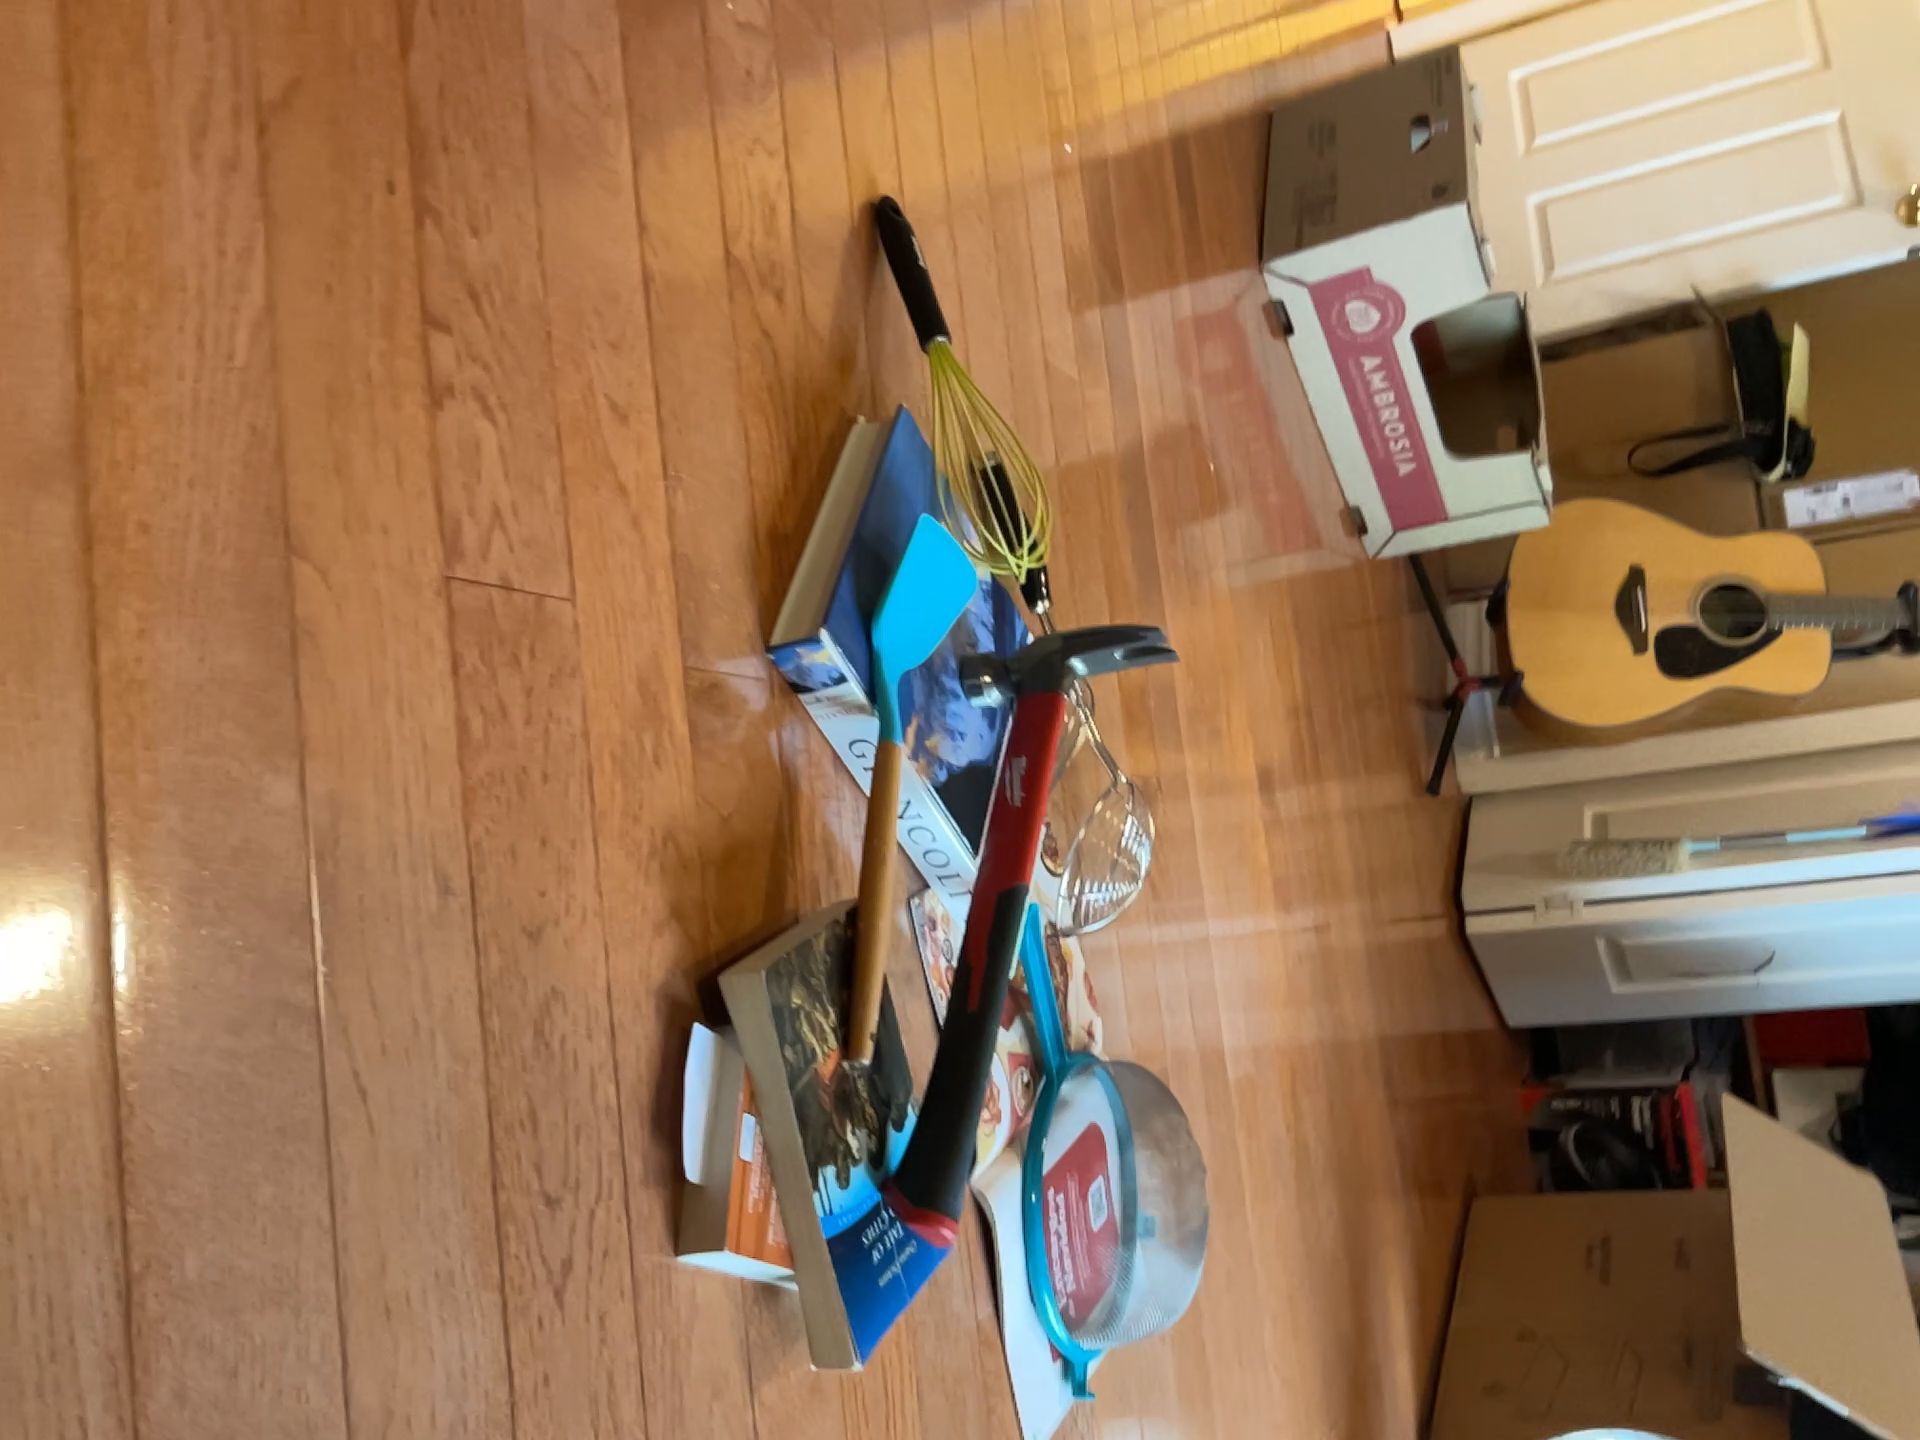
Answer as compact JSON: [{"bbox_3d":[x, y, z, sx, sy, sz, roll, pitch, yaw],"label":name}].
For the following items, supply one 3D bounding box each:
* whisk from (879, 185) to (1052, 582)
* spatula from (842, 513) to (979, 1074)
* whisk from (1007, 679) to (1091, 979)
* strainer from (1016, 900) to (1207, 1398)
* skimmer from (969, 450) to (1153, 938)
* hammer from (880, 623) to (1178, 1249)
[{"bbox_3d":[-0.009,-0.230,1.063,0.080,0.067,0.312,5,61,-49],"label":"whisk"},{"bbox_3d":[-0.034,0.037,0.879,0.082,0.044,0.318,47,40,-52],"label":"spatula"},{"bbox_3d":[0.043,0.062,1.041,0.059,0.057,0.247,99,5,-57],"label":"whisk"},{"bbox_3d":[0.108,0.279,1.097,0.211,0.095,0.340,-43,127,-60],"label":"strainer"},{"bbox_3d":[0.057,-0.019,1.196,0.127,0.090,0.363,-19,87,-62],"label":"skimmer"},{"bbox_3d":[0.033,0.105,0.904,0.038,0.143,0.387,51,40,-41],"label":"hammer"}]
